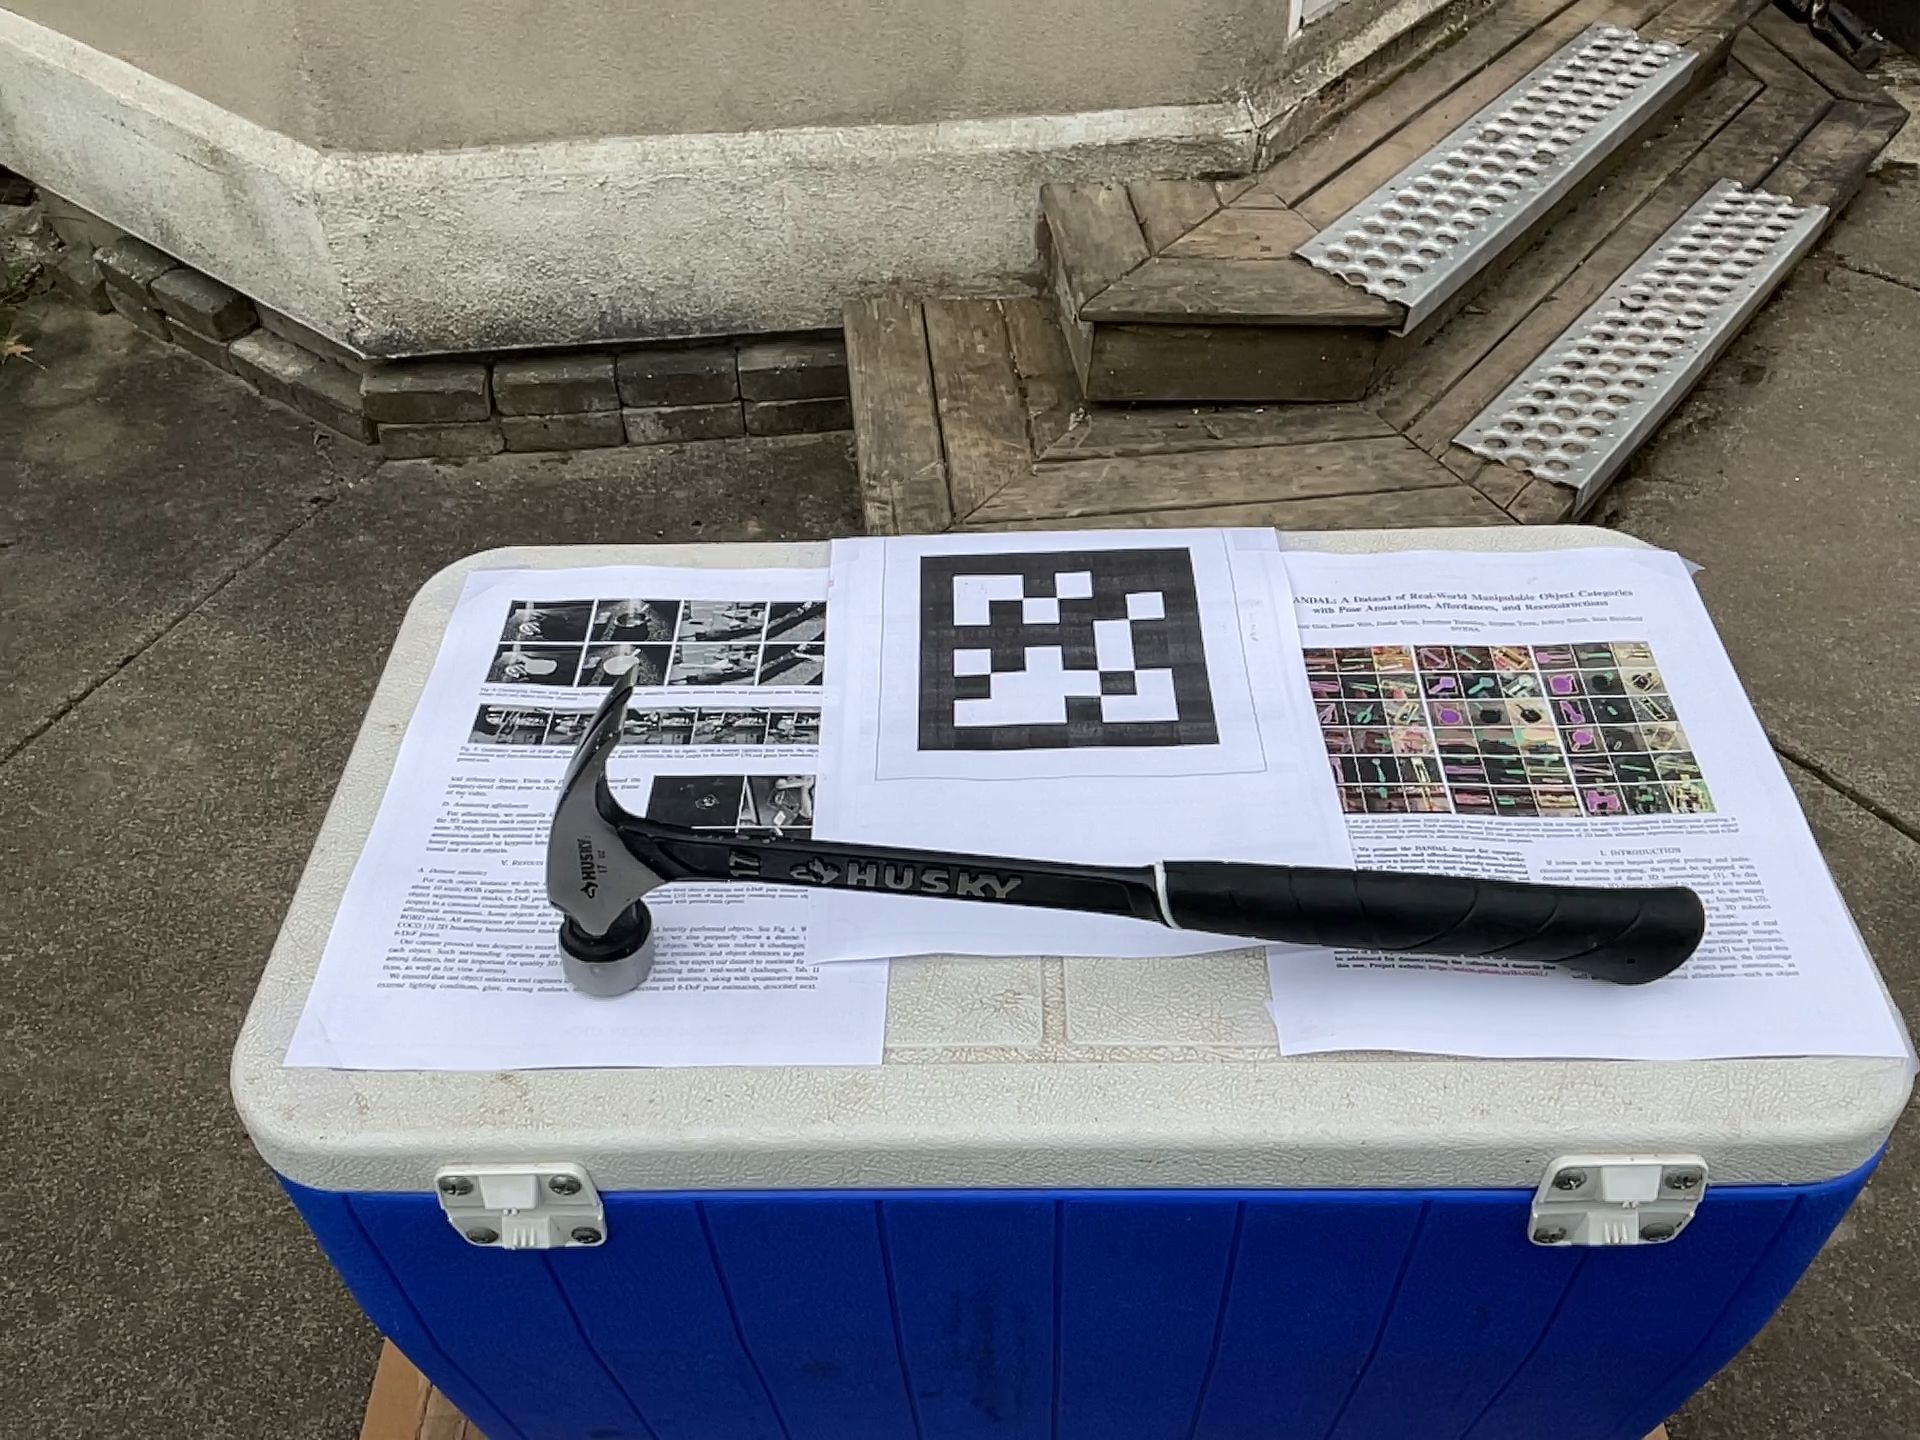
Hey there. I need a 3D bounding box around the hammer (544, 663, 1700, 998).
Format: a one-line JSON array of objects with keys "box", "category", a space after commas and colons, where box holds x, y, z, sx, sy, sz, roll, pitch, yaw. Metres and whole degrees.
[{"box": [0.057, 0.057, 0.566, 0.408, 0.149, 0.036, 5, 46, -2], "category": "hammer"}]
